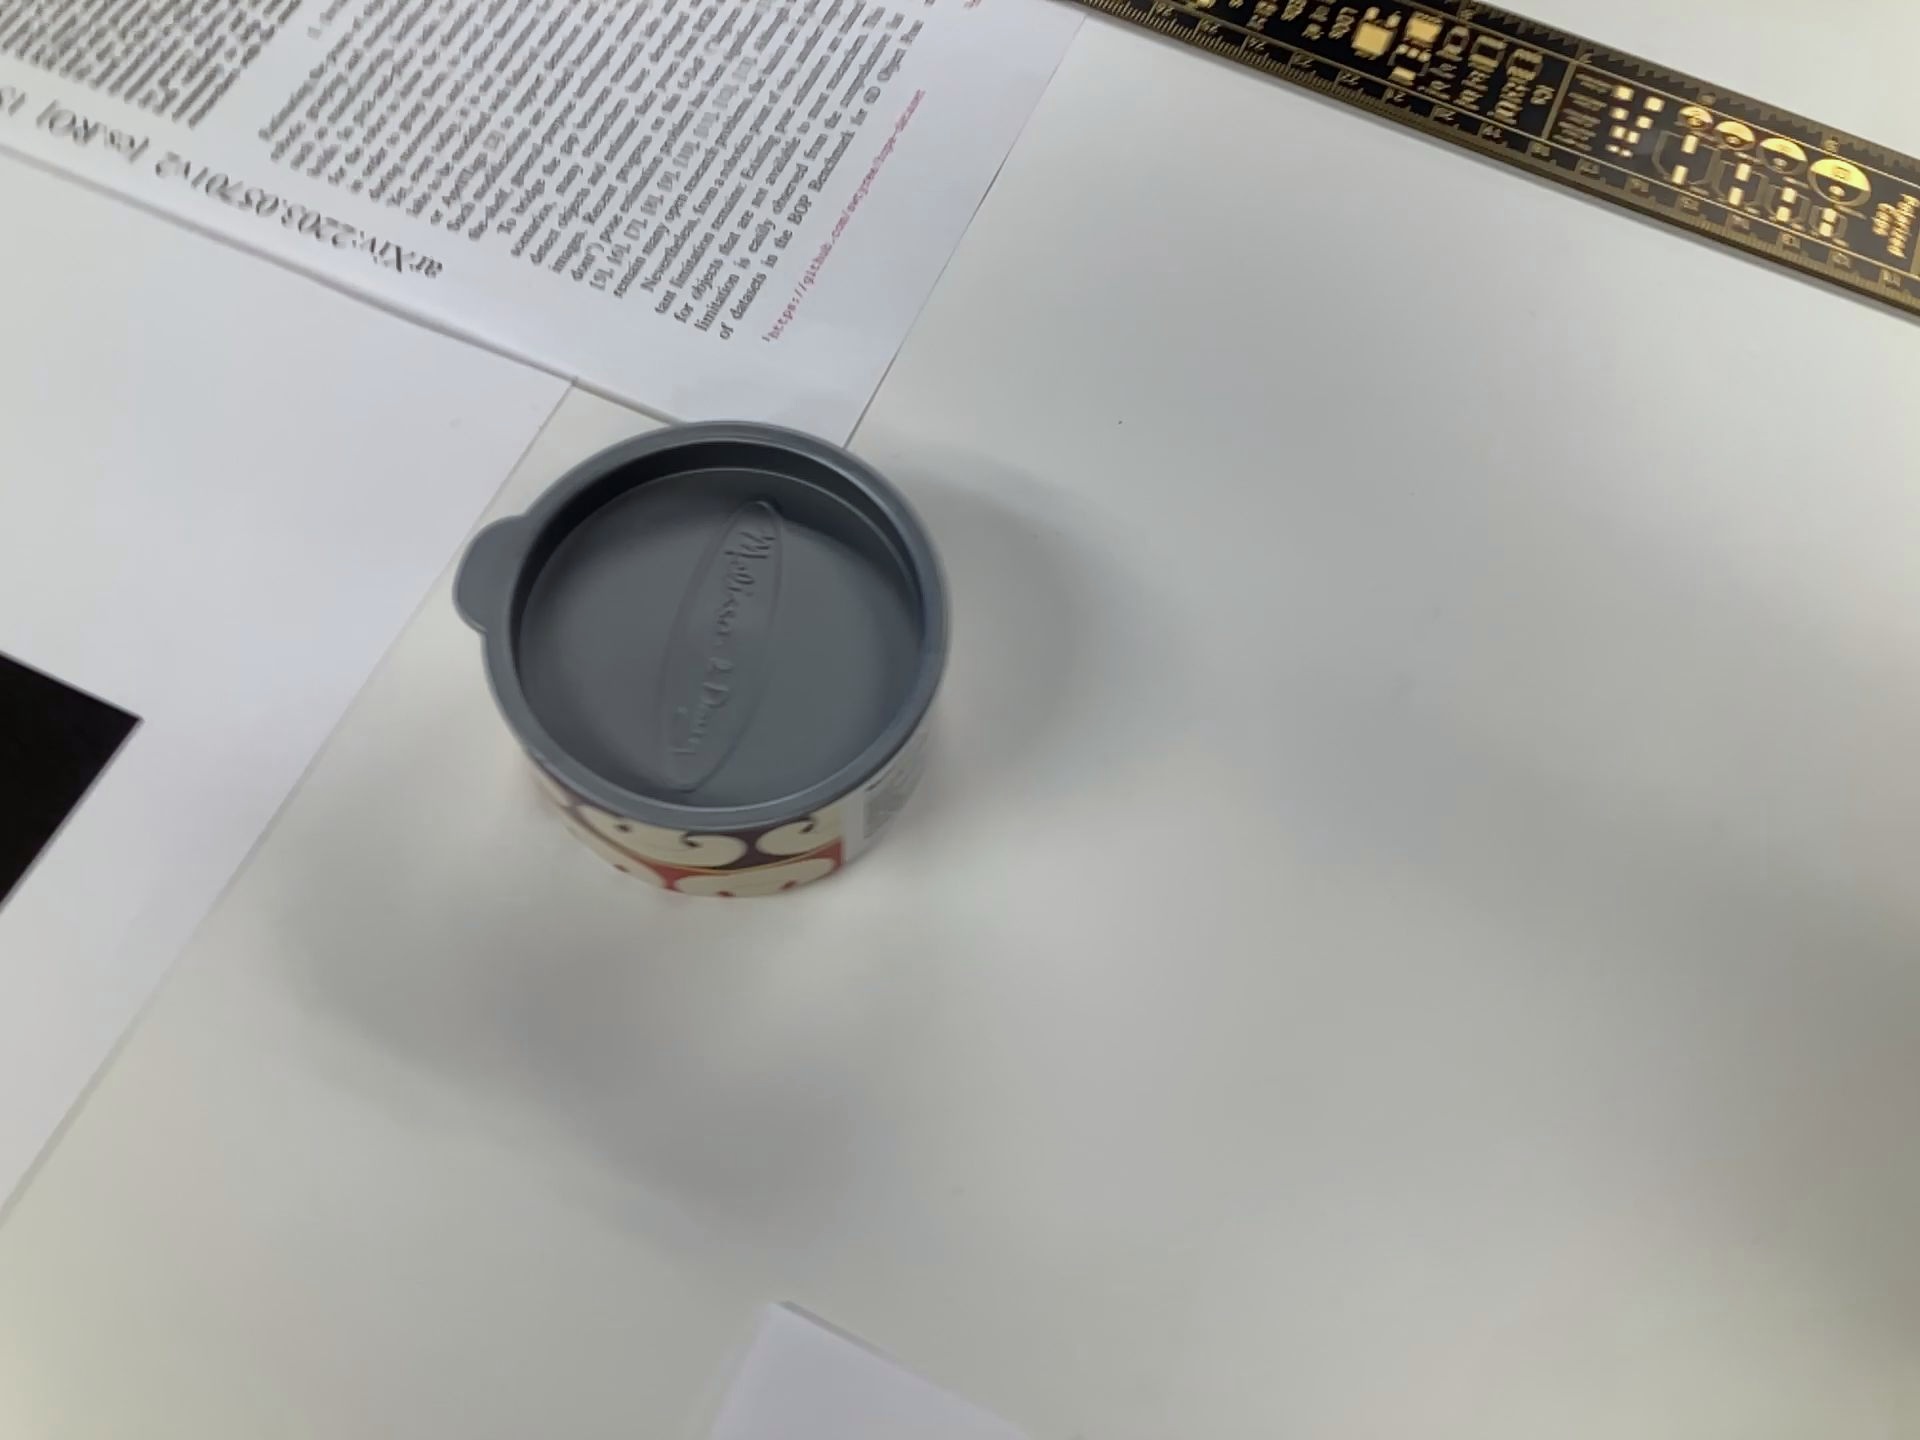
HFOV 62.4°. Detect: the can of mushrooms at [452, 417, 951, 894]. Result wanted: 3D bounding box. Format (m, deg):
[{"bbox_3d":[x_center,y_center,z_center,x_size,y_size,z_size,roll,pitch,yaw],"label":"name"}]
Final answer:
[{"bbox_3d":[-0.038,-0.010,0.240,0.071,0.033,0.071,1,67,-3],"label":"can of mushrooms"}]
